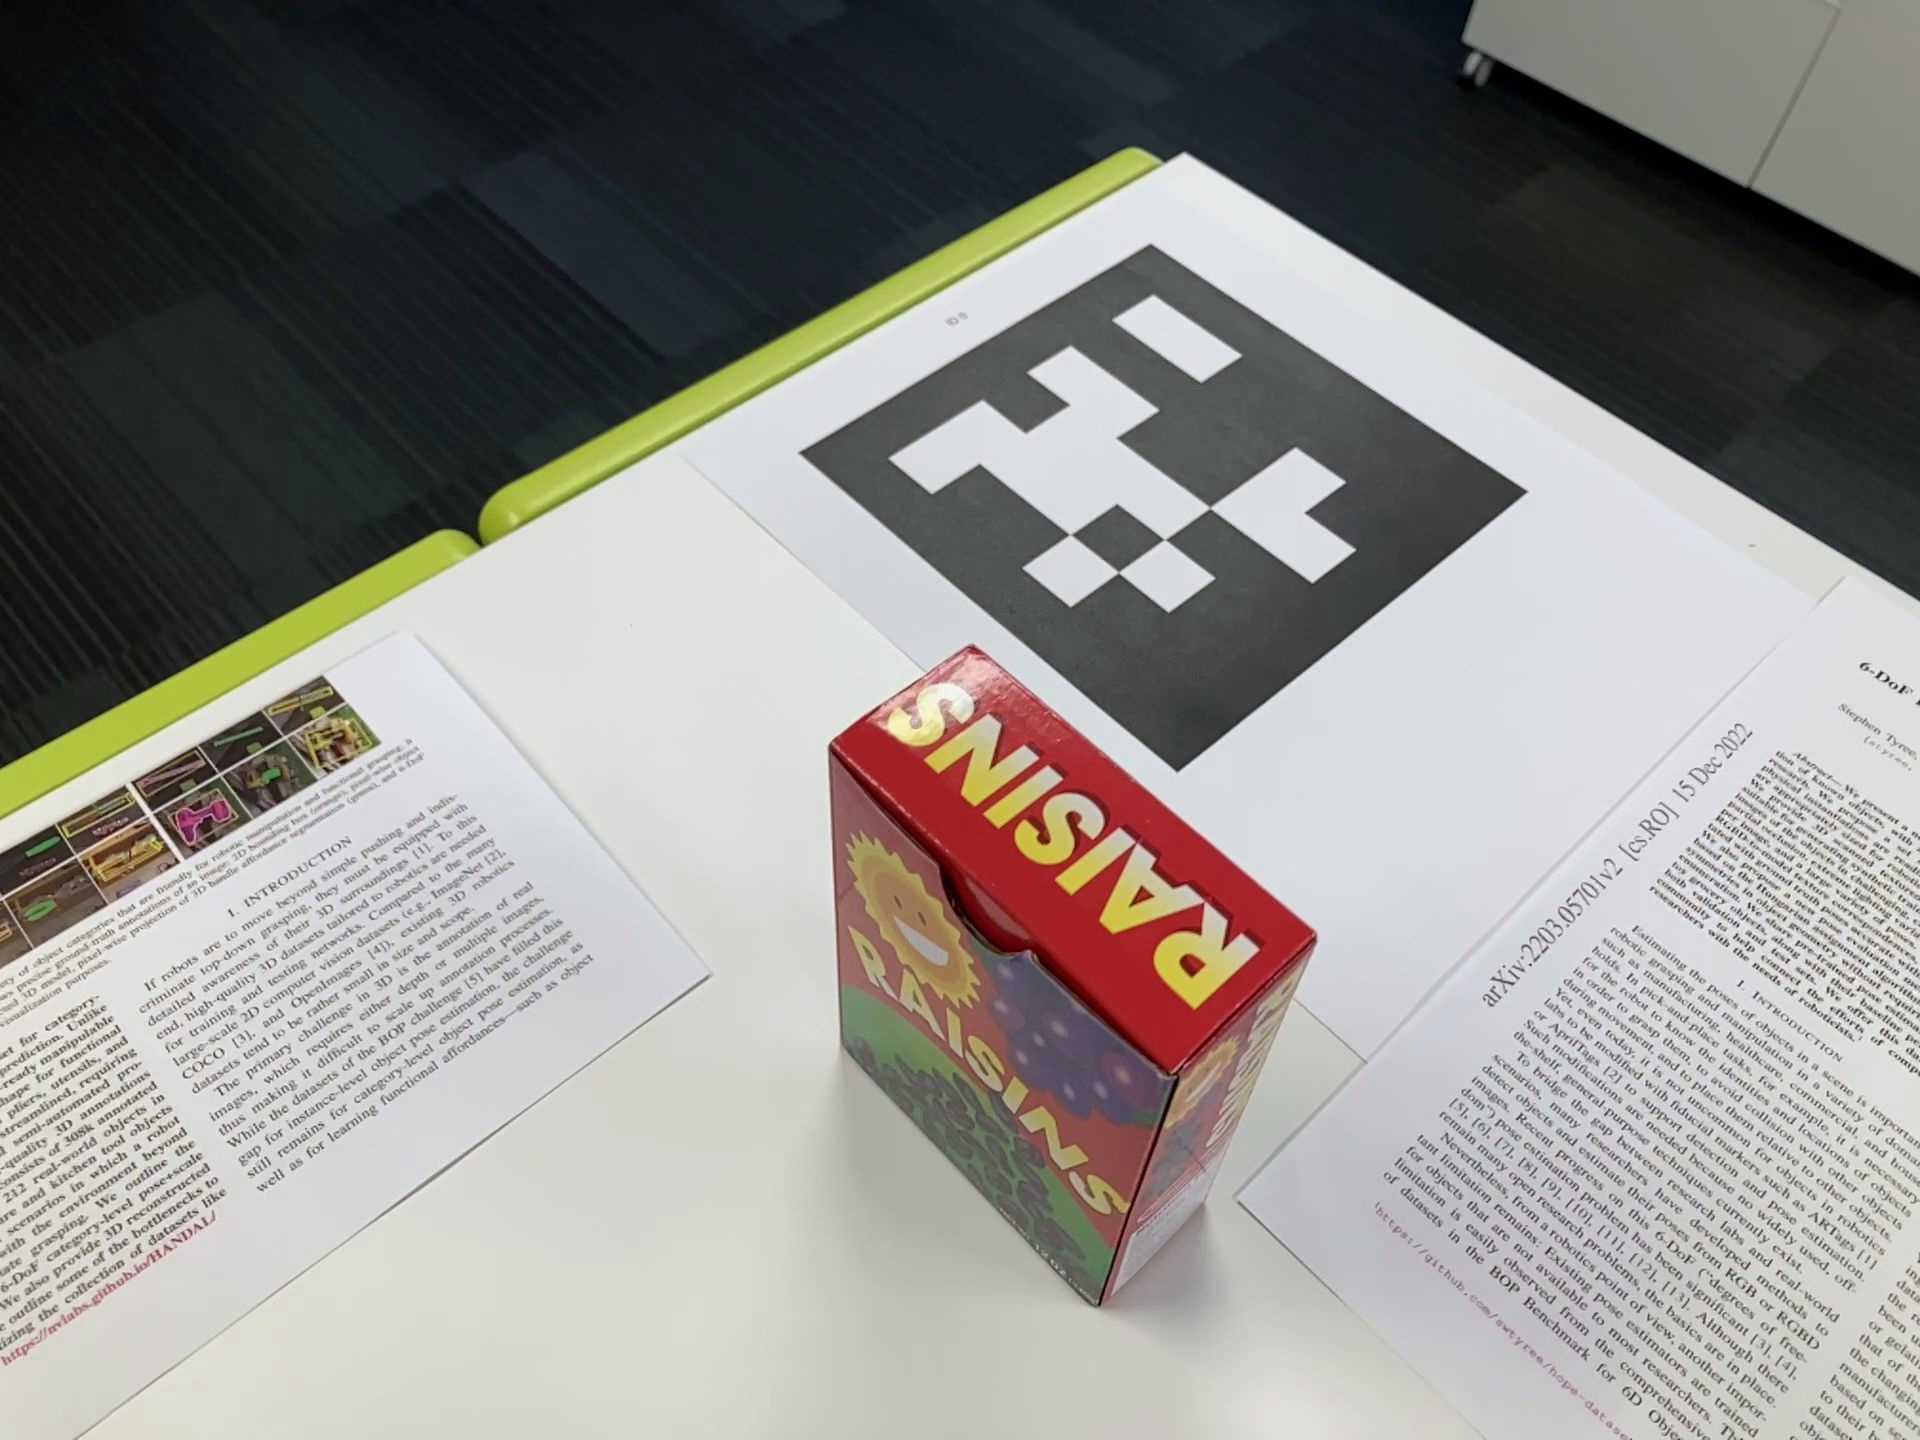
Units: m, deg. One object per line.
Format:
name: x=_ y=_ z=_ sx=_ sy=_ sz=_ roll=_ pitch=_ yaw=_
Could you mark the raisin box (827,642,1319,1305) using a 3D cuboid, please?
raisin box: x=0.015 y=0.055 z=0.316 sx=0.040 sy=0.123 sz=0.086 roll=-35 pitch=62 yaw=-25
